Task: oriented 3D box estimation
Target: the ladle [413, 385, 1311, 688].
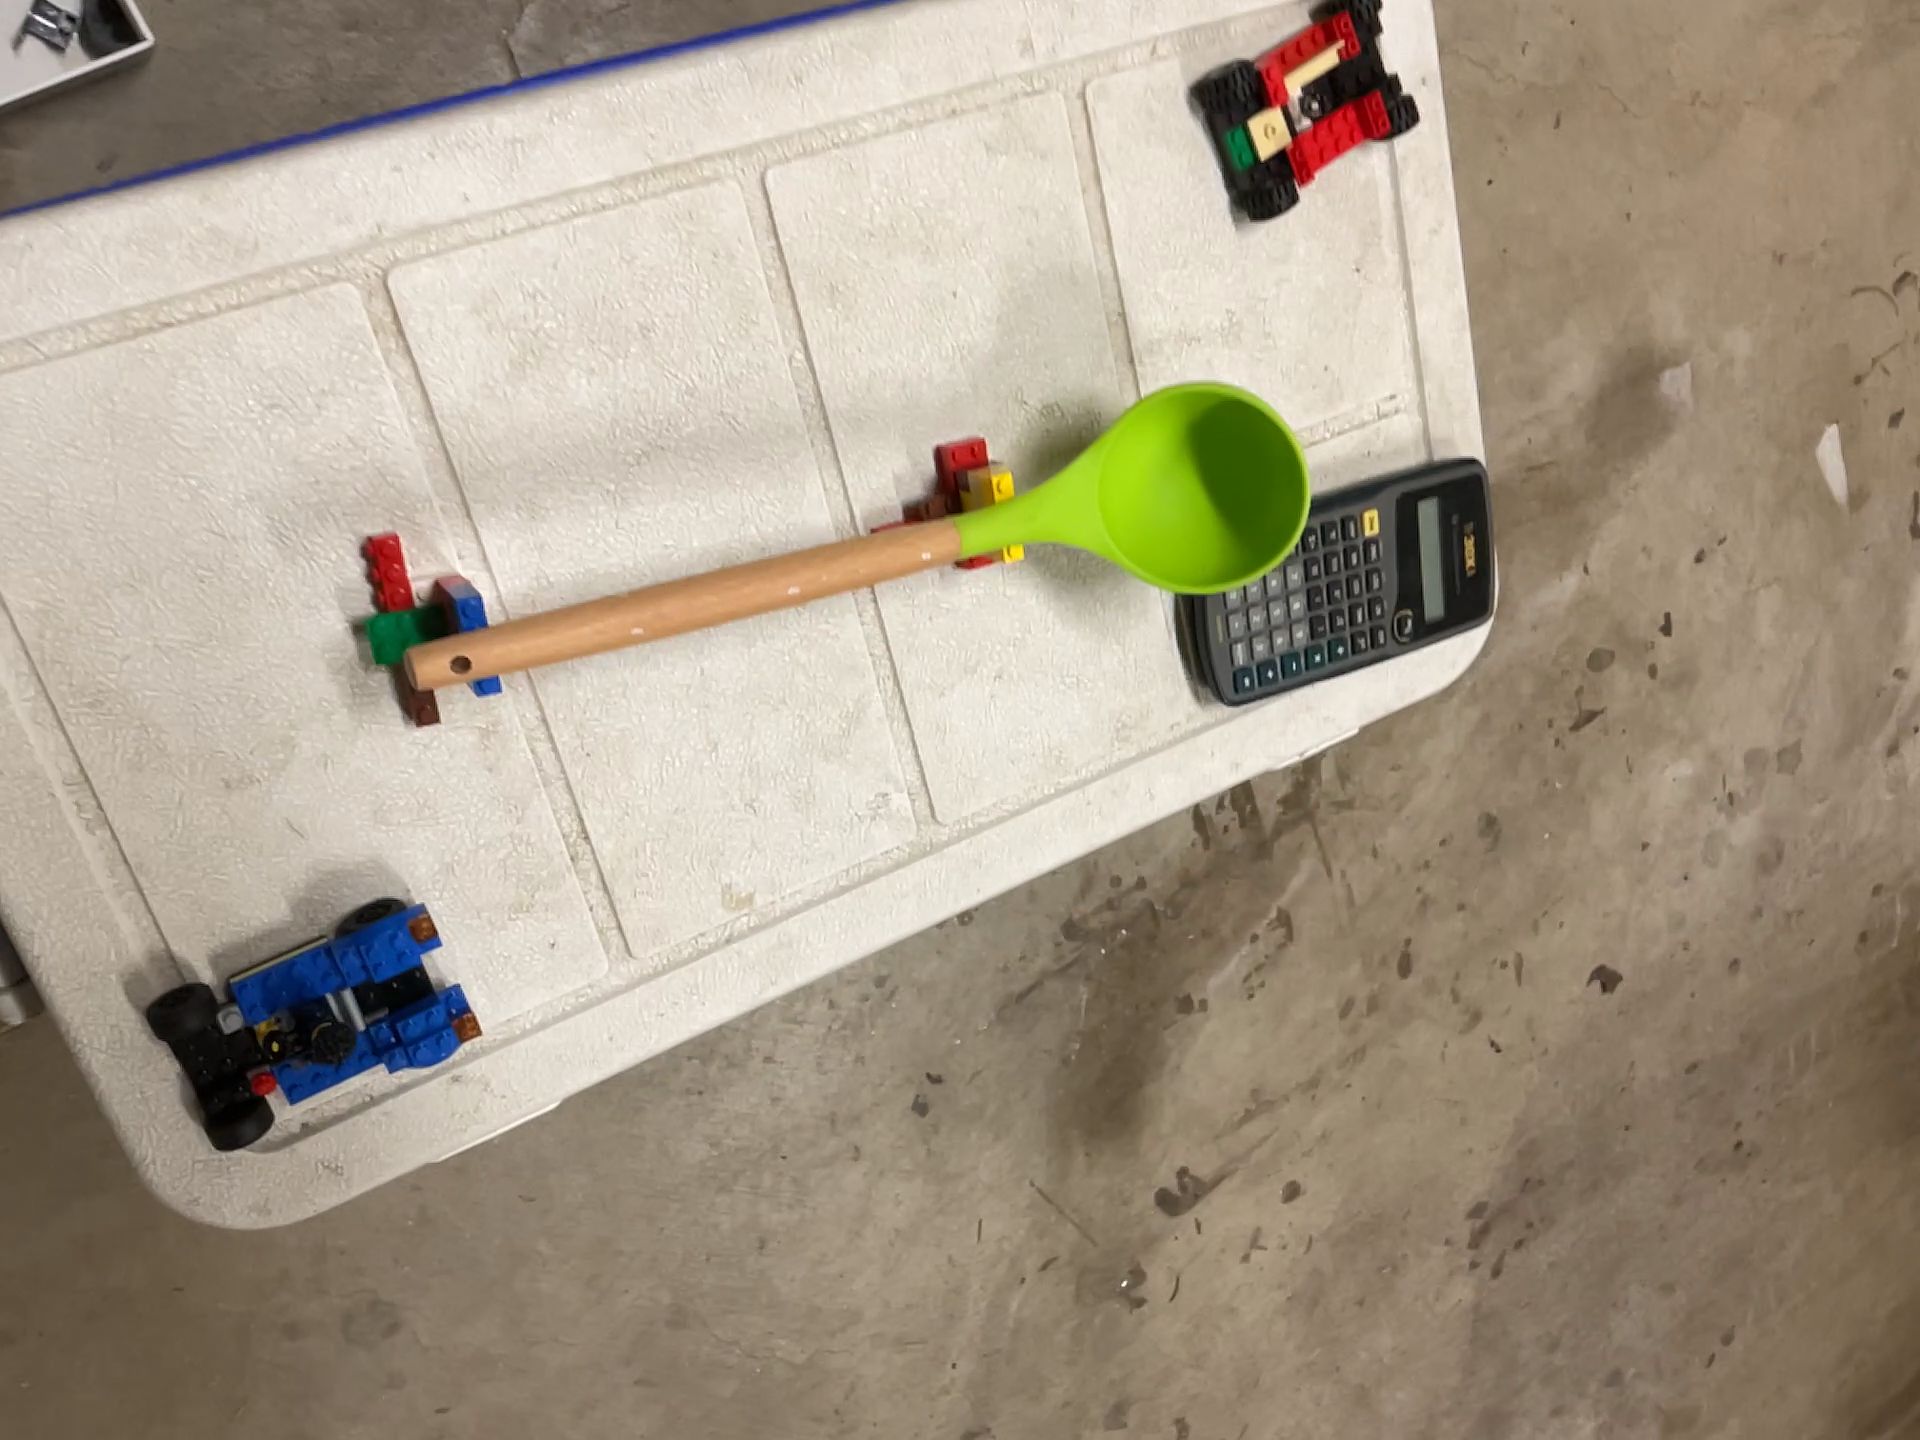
[{"bbox_3d":[-0.019,-0.054,0.539,0.320,0.062,0.078,-16,111,-25],"label":"ladle"}]
